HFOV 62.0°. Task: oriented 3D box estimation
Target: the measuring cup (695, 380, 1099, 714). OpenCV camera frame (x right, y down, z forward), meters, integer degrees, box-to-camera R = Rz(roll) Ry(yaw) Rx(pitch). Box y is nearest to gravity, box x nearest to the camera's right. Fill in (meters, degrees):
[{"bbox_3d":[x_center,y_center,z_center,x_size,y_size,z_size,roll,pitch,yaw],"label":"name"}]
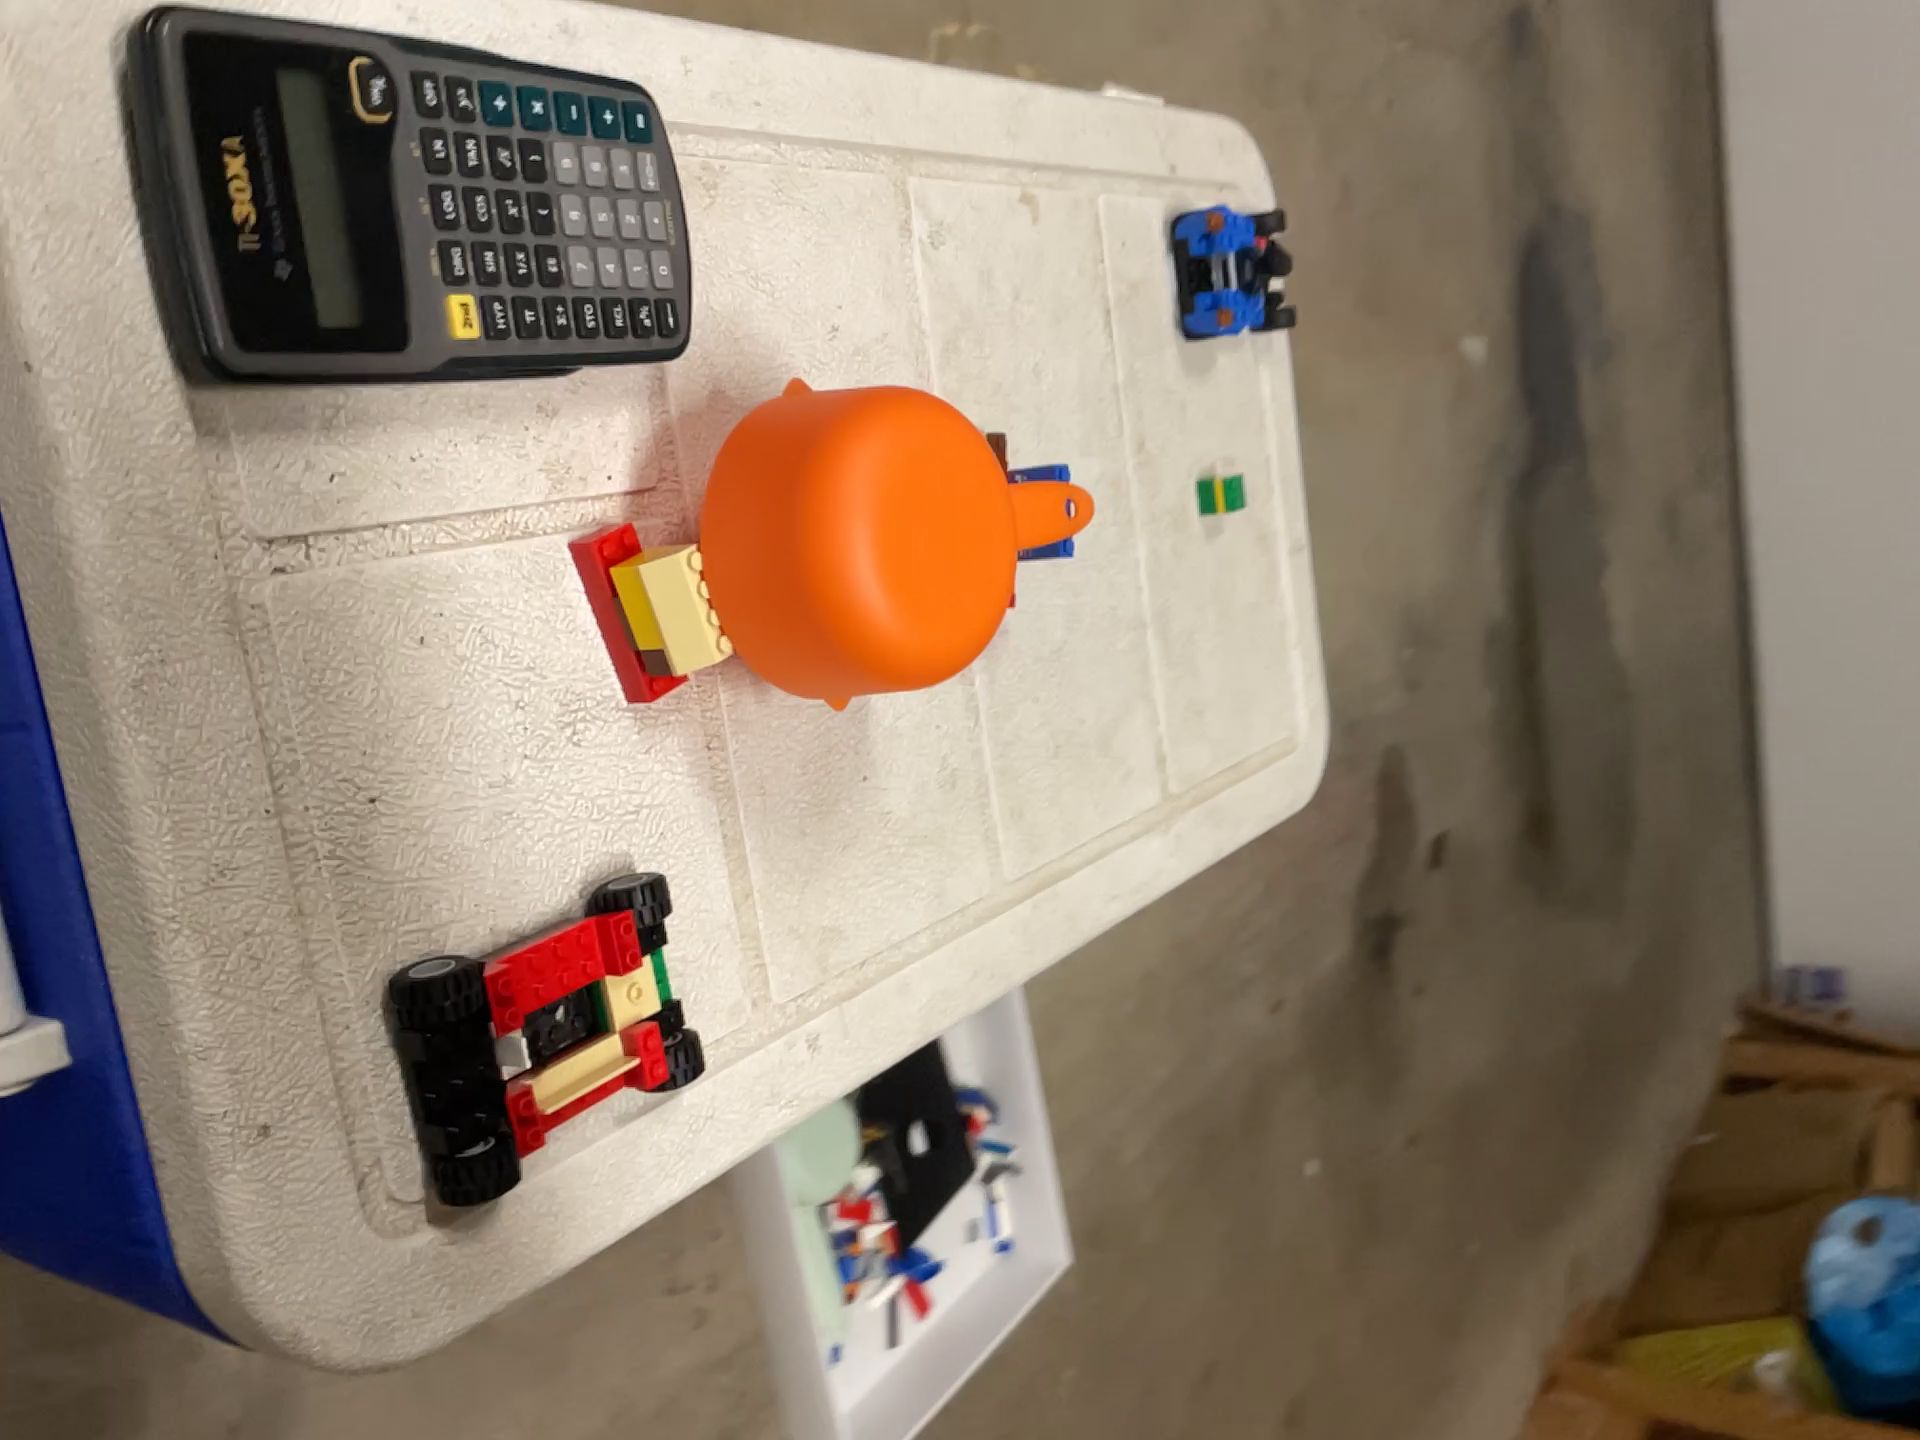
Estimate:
[{"bbox_3d":[0.005,-0.056,0.470,0.173,0.052,0.095,-15,102,-46],"label":"measuring cup"}]
